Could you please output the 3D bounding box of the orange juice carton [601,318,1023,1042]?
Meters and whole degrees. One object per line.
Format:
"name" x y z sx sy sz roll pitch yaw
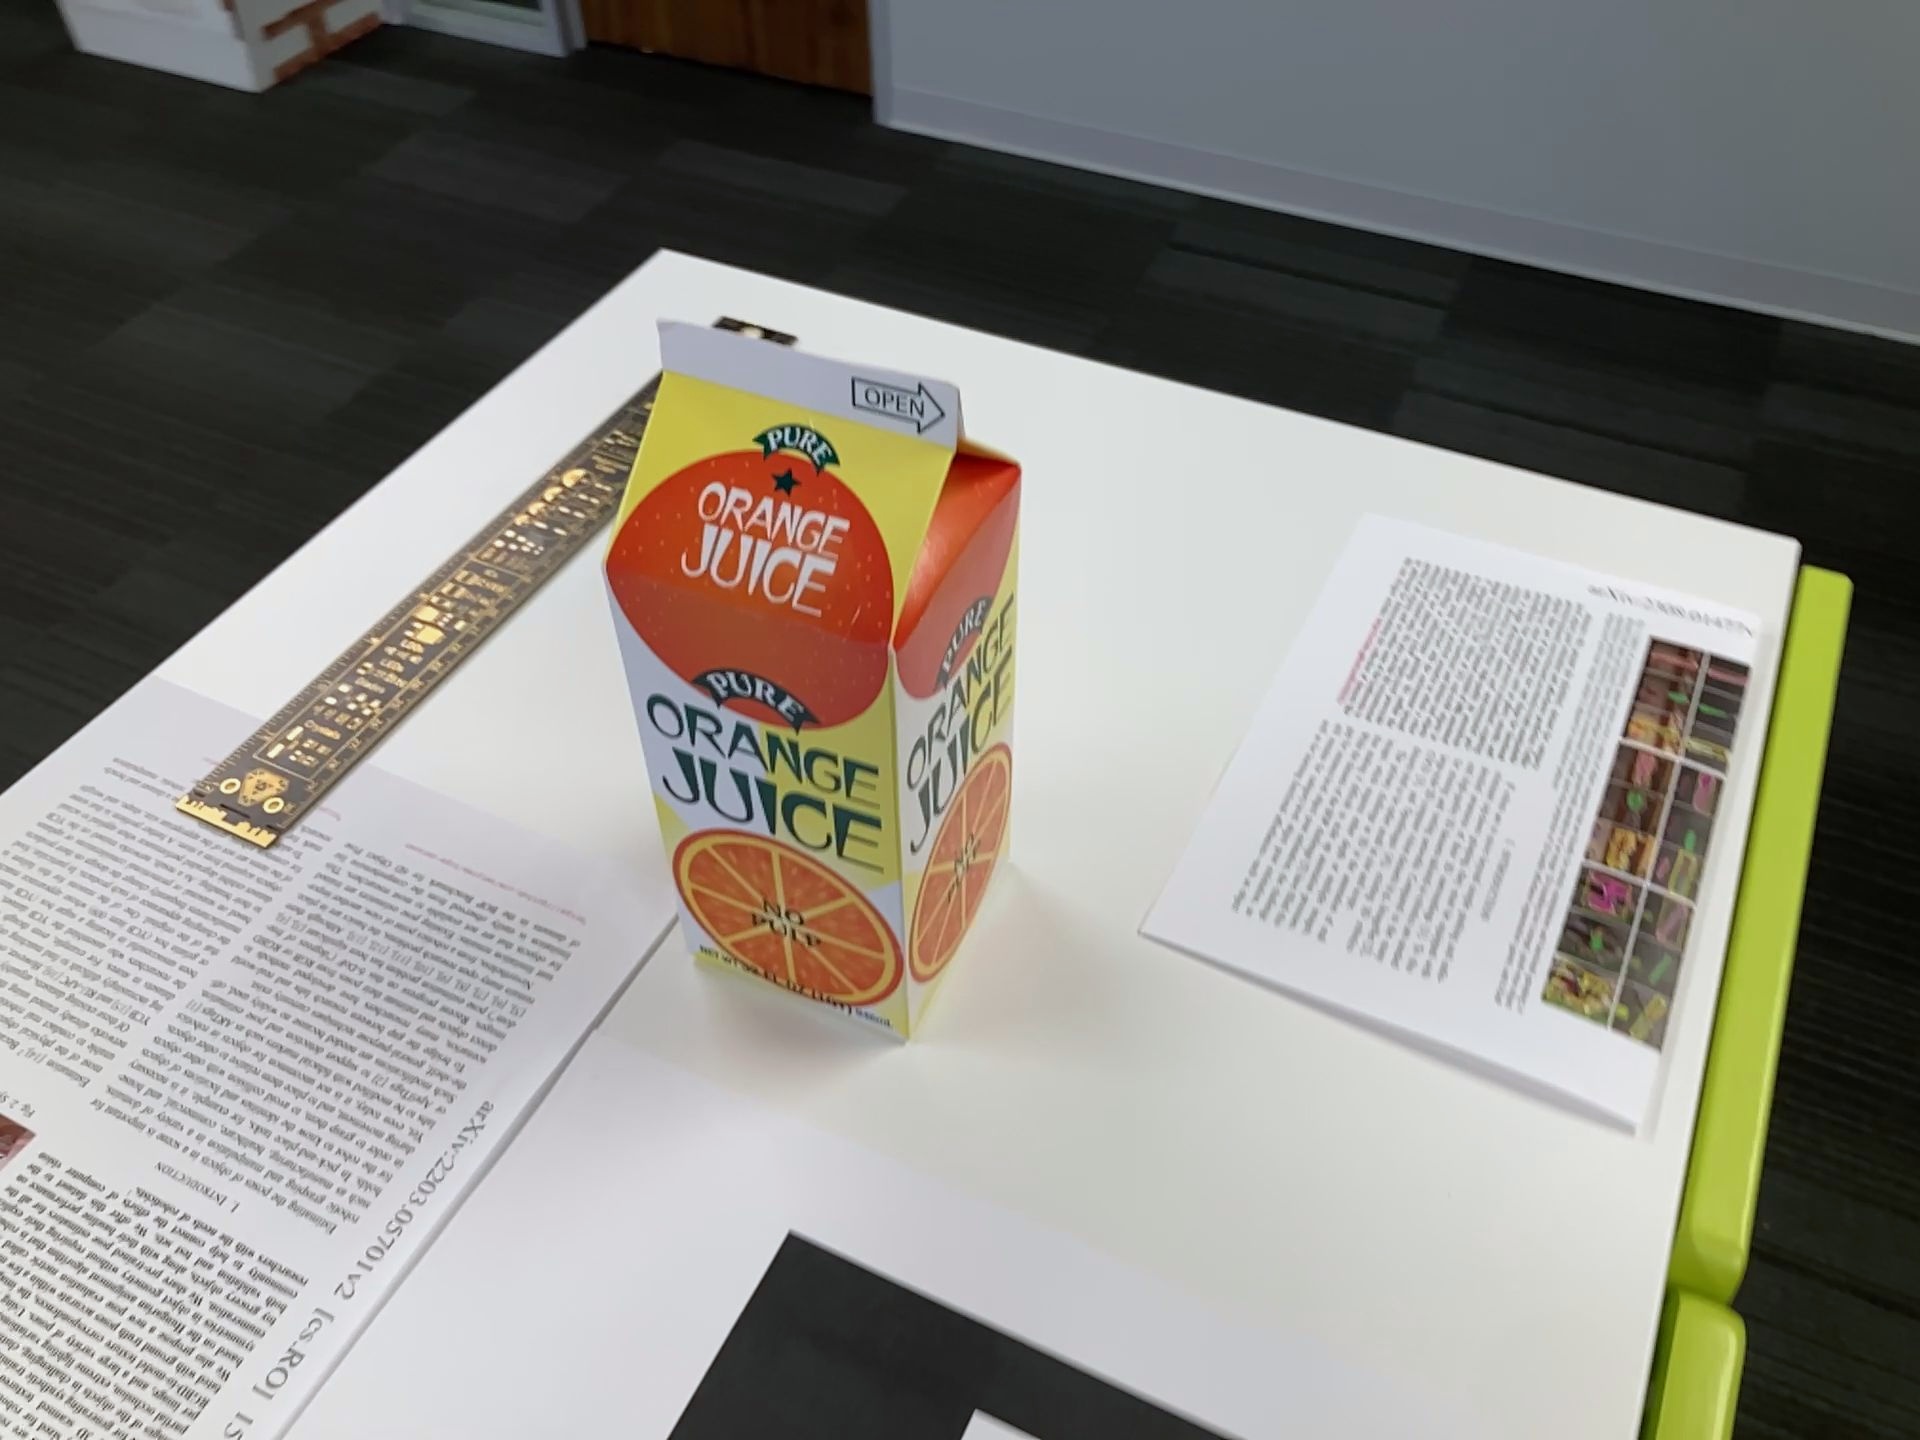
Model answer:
"orange juice carton" -0.032 -0.010 0.396 0.072 0.192 0.073 18 50 17
